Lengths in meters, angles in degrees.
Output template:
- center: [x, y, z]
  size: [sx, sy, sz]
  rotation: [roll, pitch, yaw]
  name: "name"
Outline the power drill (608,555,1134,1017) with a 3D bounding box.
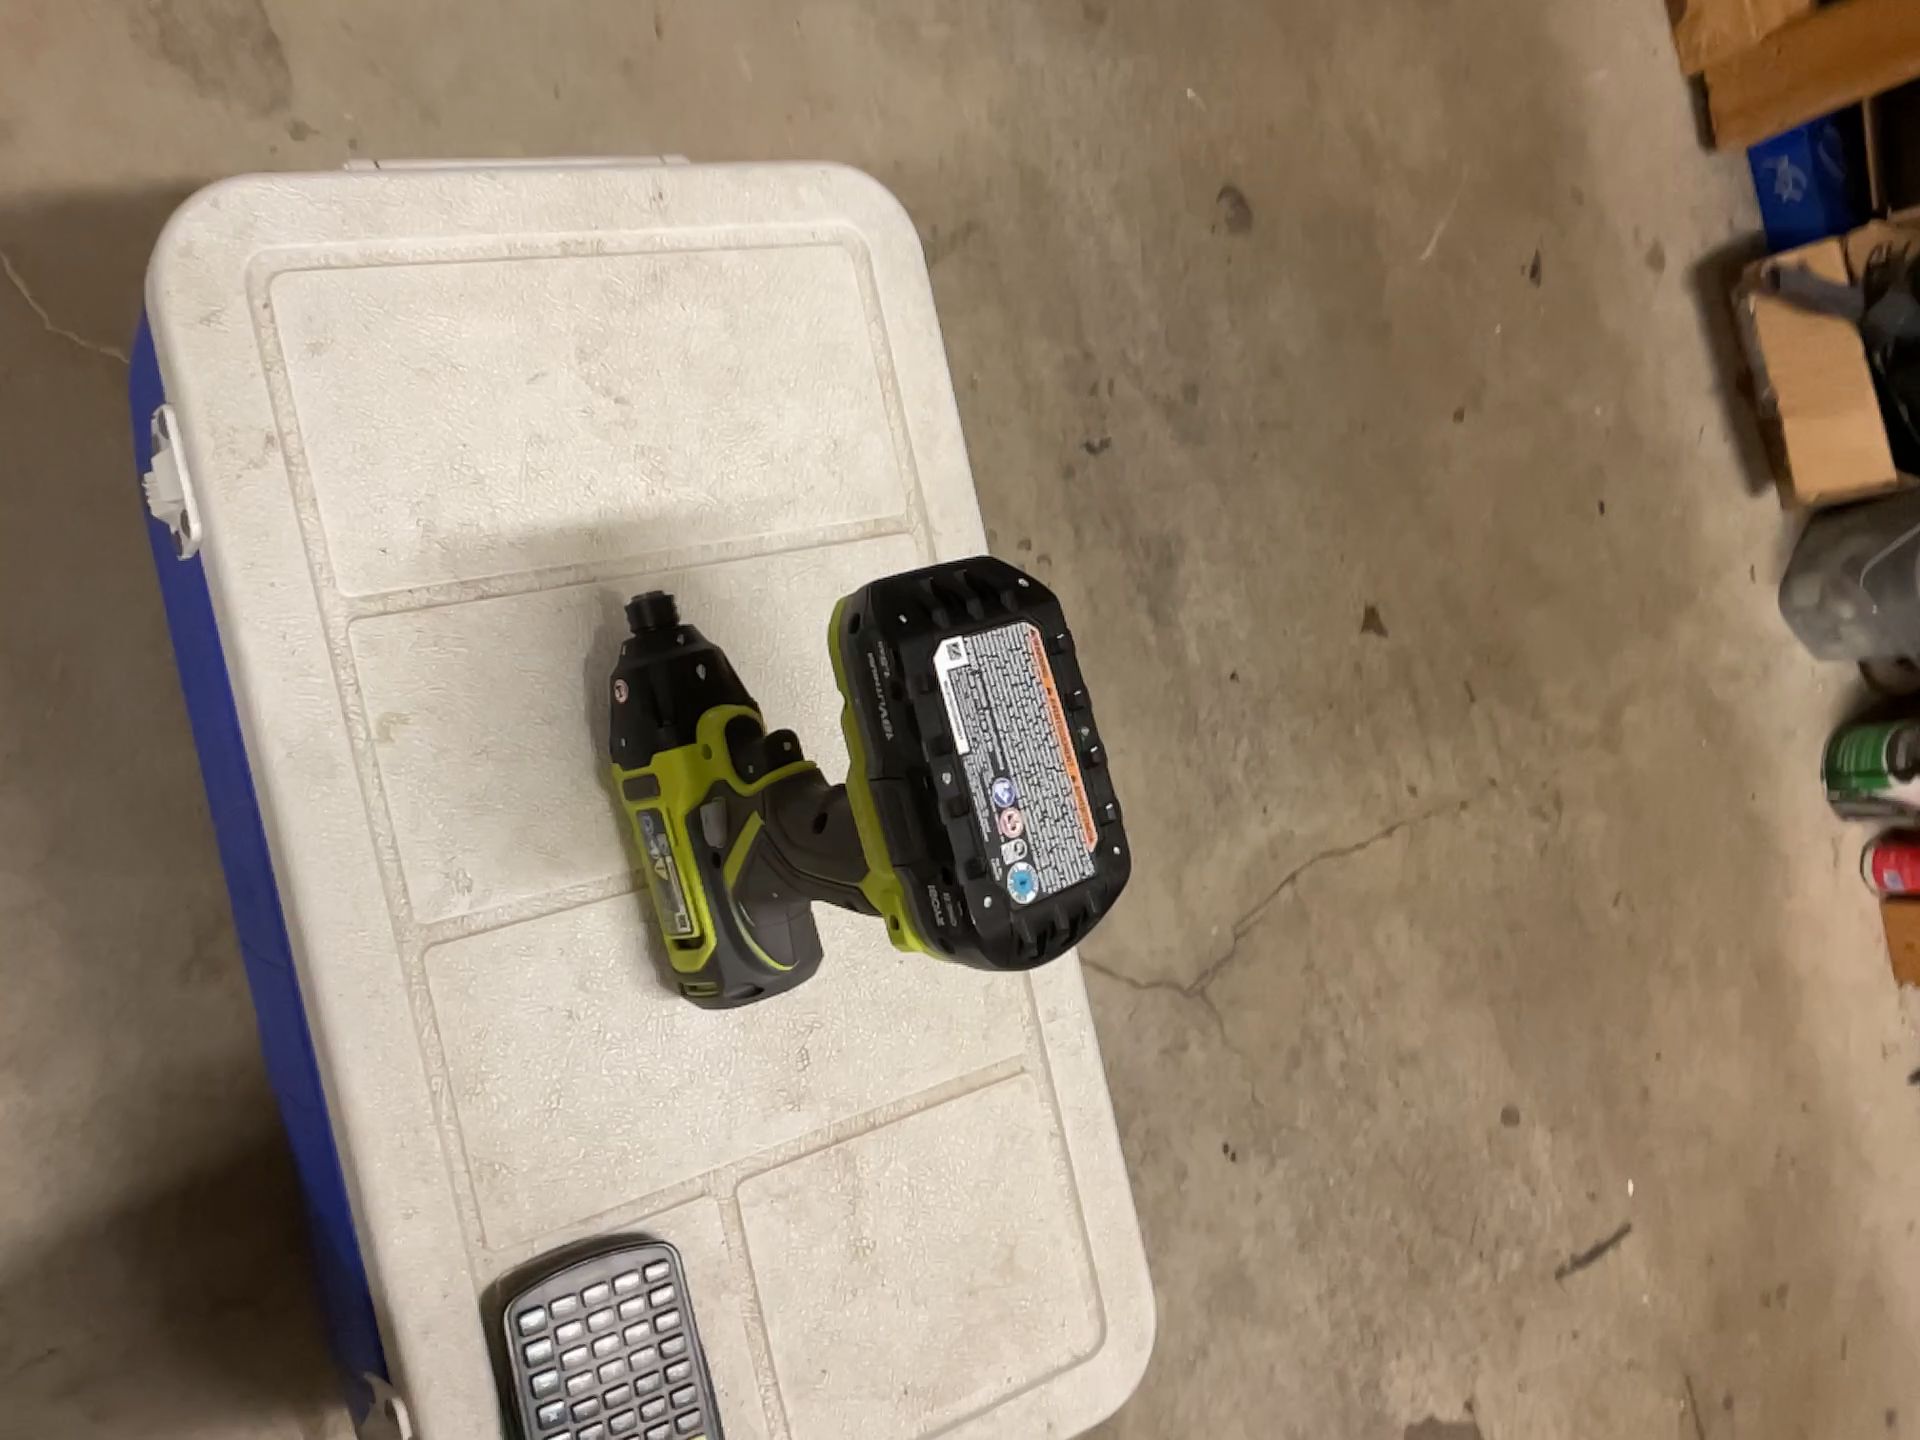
- center: [-0.053, 0.020, 0.589]
  size: [0.080, 0.223, 0.171]
  rotation: [-17, 93, -41]
  name: "power drill"
